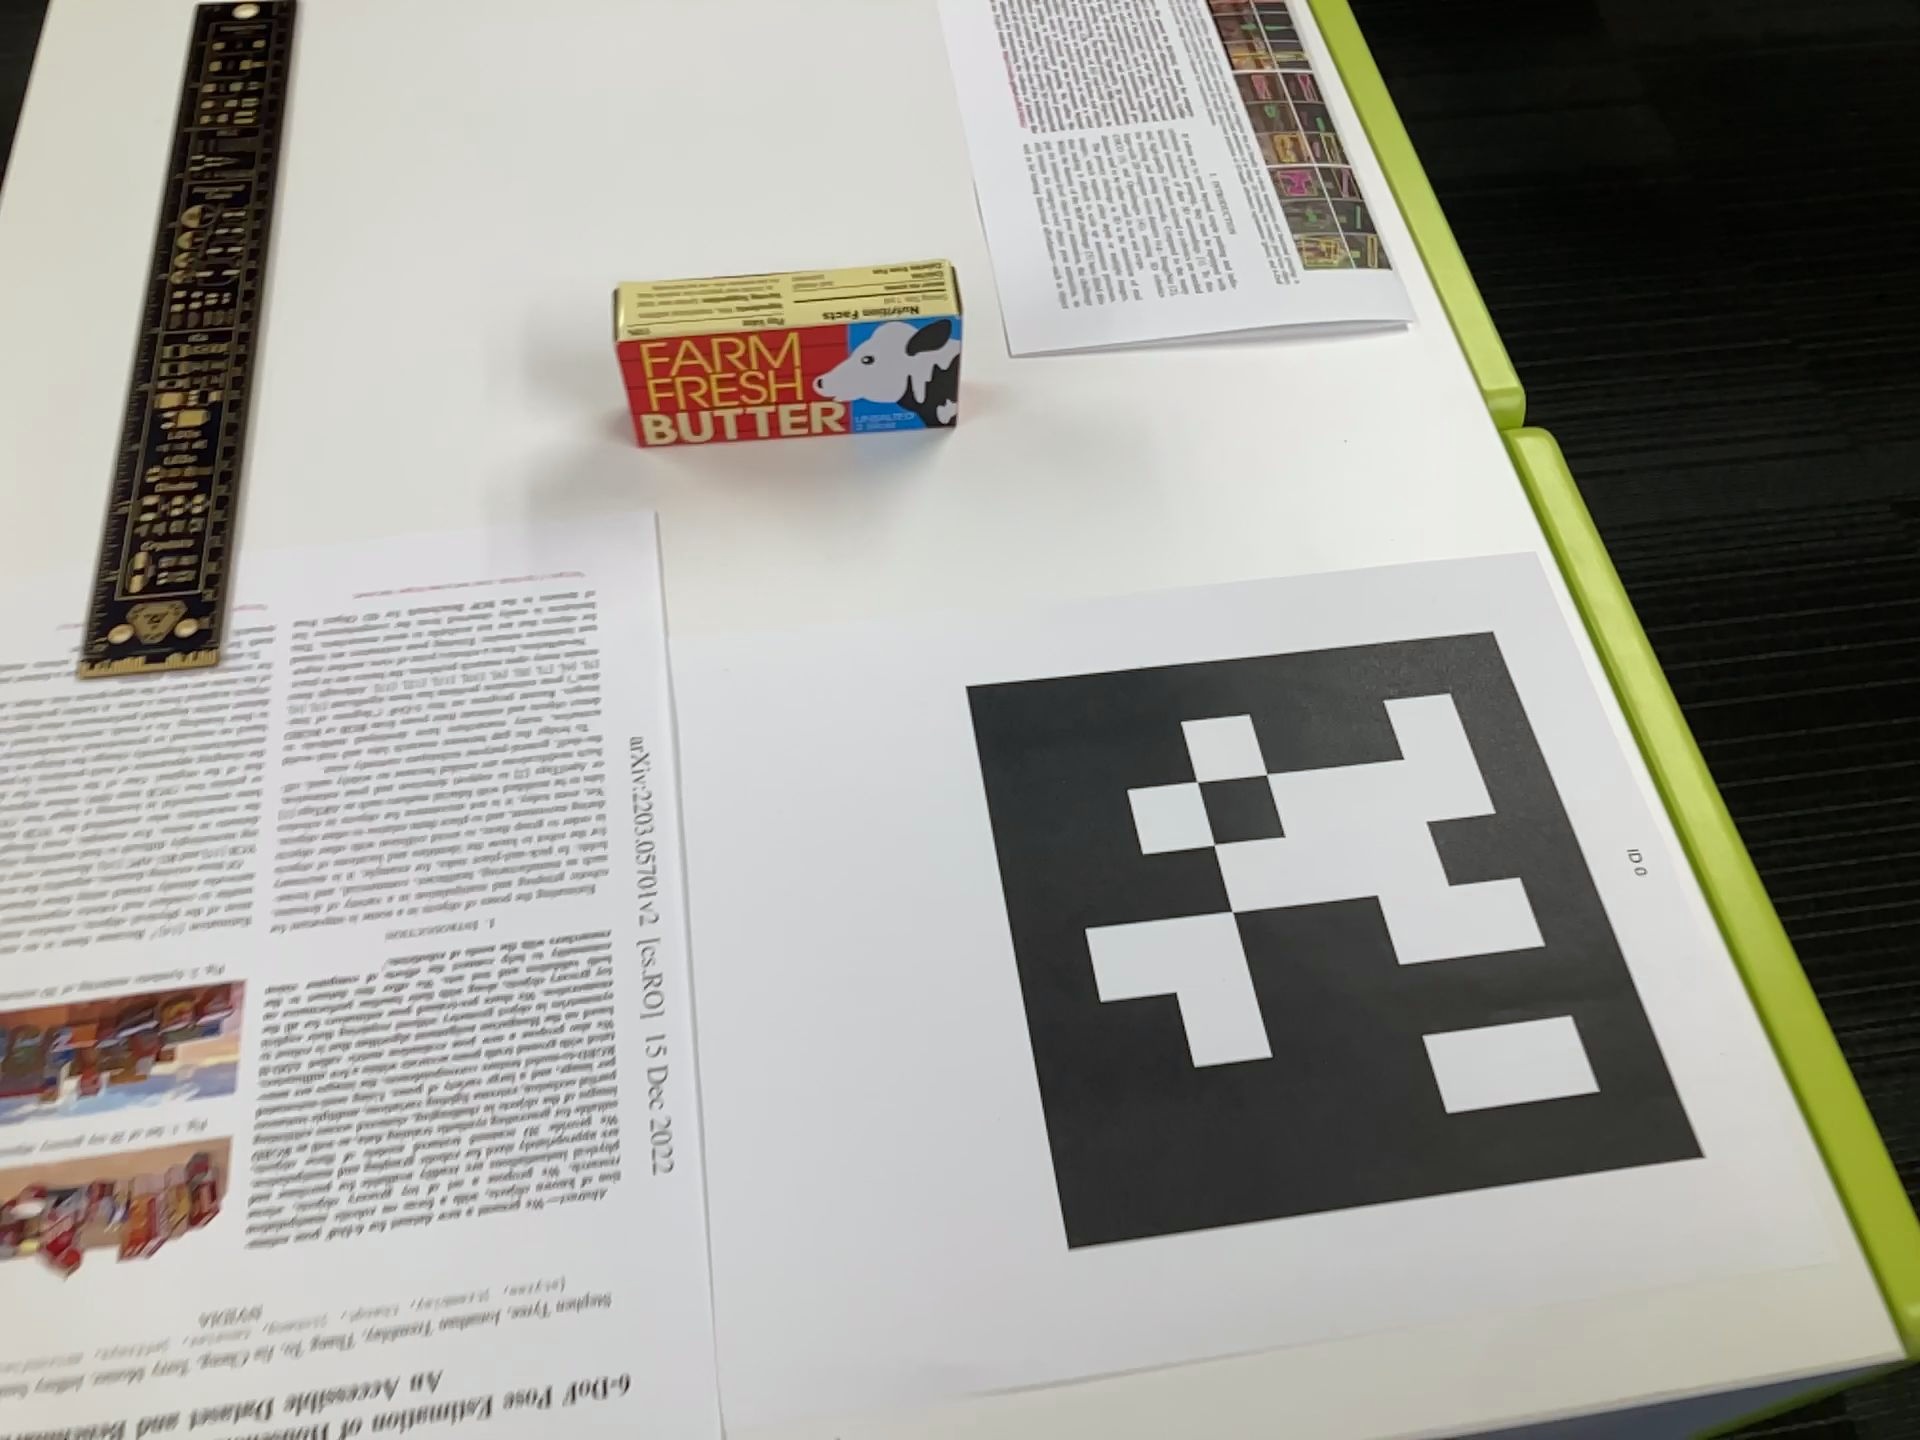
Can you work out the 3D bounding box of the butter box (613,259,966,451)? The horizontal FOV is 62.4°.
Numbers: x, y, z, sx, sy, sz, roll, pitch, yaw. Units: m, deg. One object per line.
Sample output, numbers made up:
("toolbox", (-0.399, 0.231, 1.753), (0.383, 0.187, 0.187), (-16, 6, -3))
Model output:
("butter box", (-0.052, -0.112, 0.487), (0.103, 0.053, 0.024), (-6, 61, -6))
